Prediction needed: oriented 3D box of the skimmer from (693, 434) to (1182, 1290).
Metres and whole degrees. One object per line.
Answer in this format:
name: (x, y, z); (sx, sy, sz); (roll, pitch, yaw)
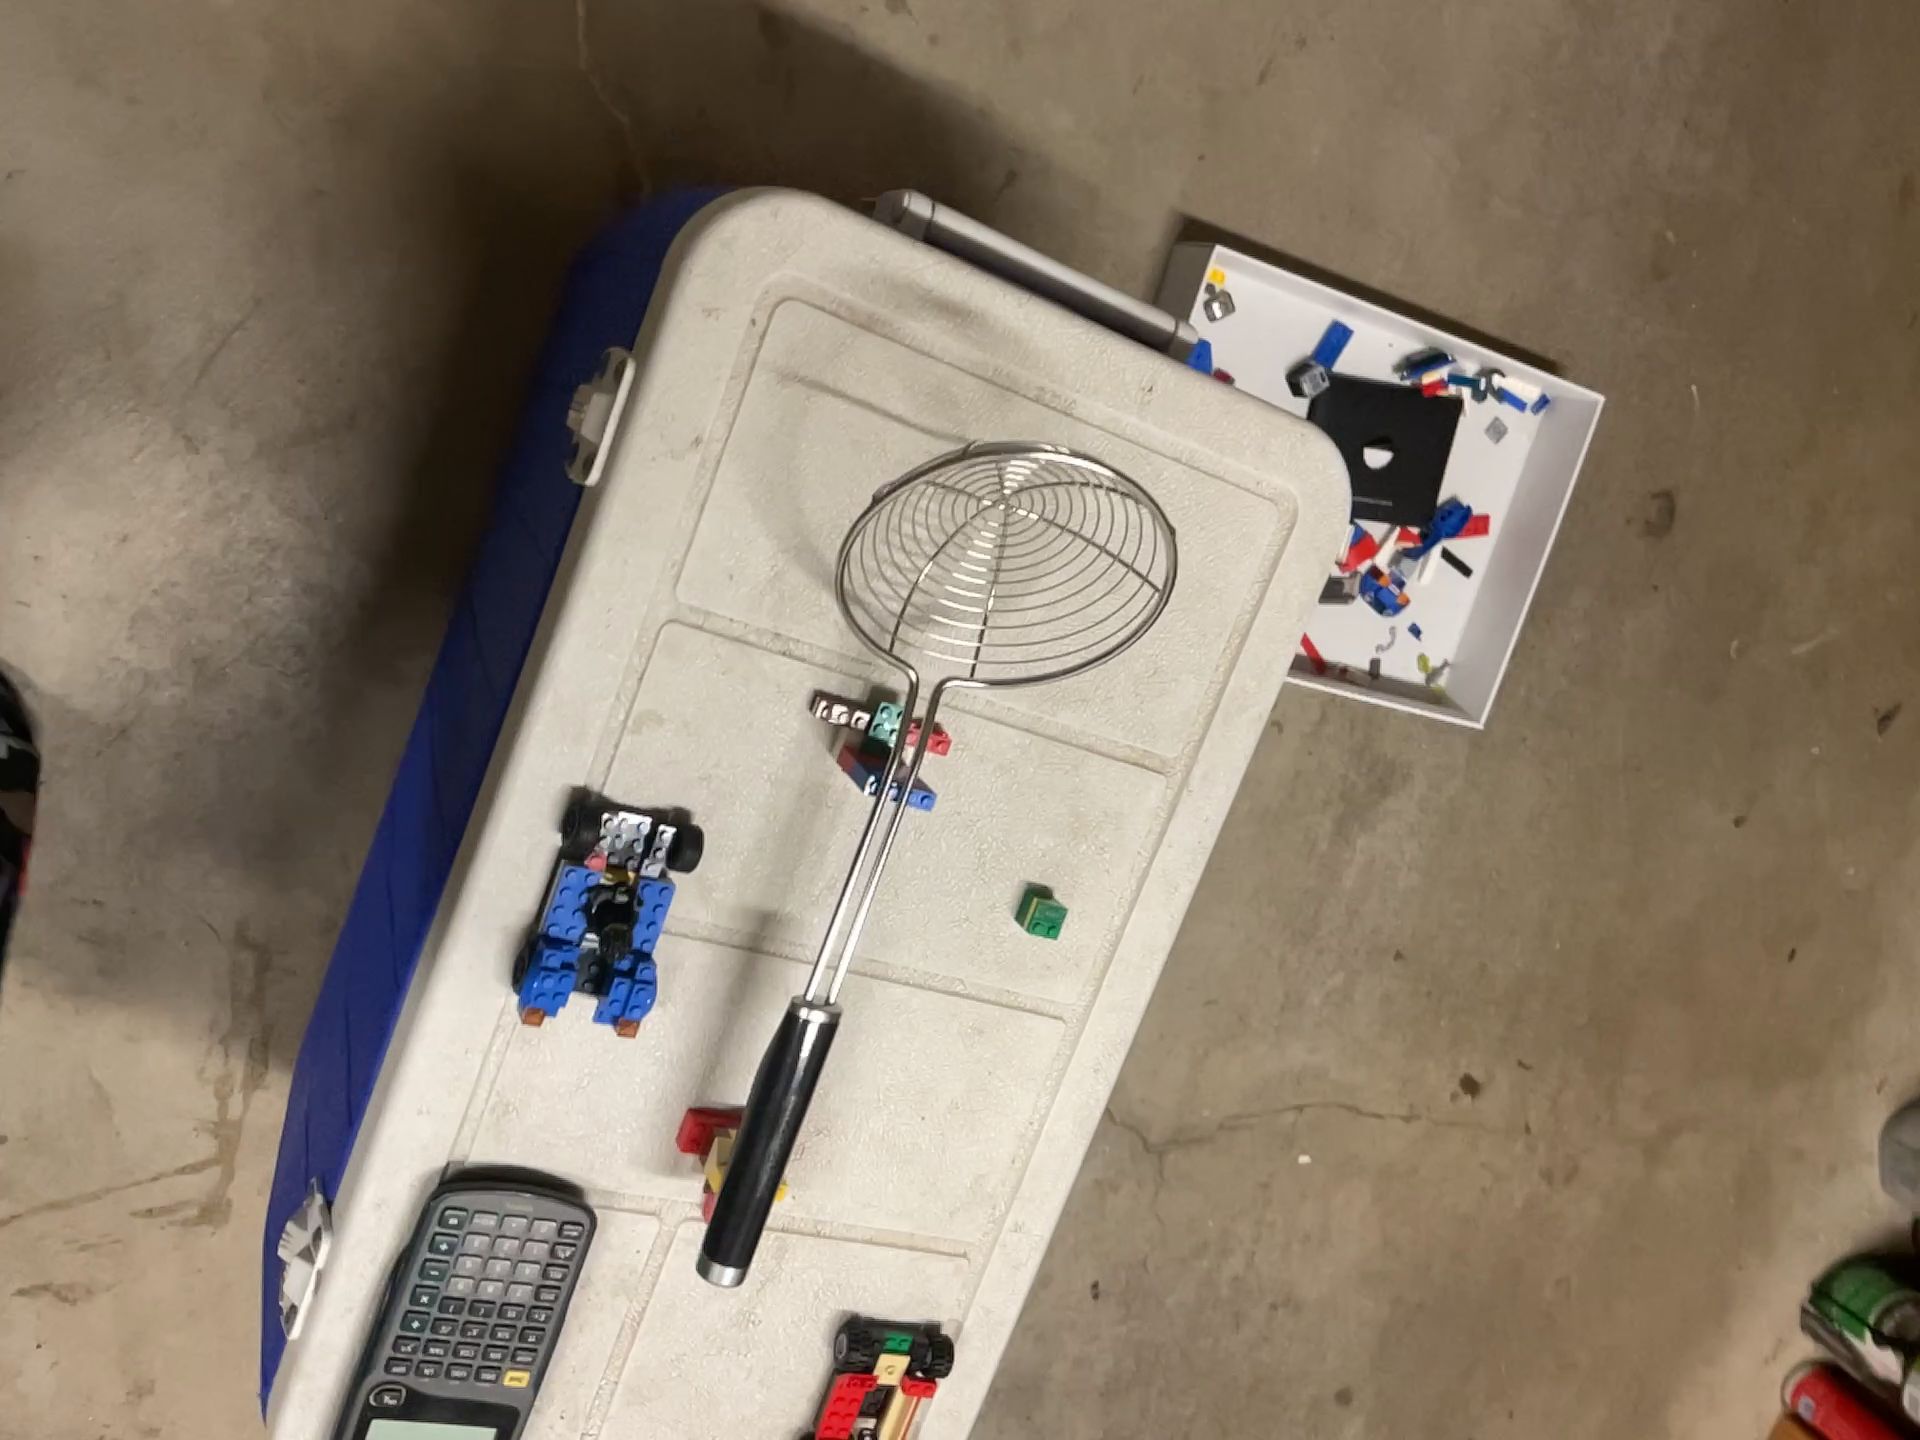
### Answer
skimmer: (-0.028, 0.067, 0.602); (0.127, 0.090, 0.363); (17, 99, -24)
